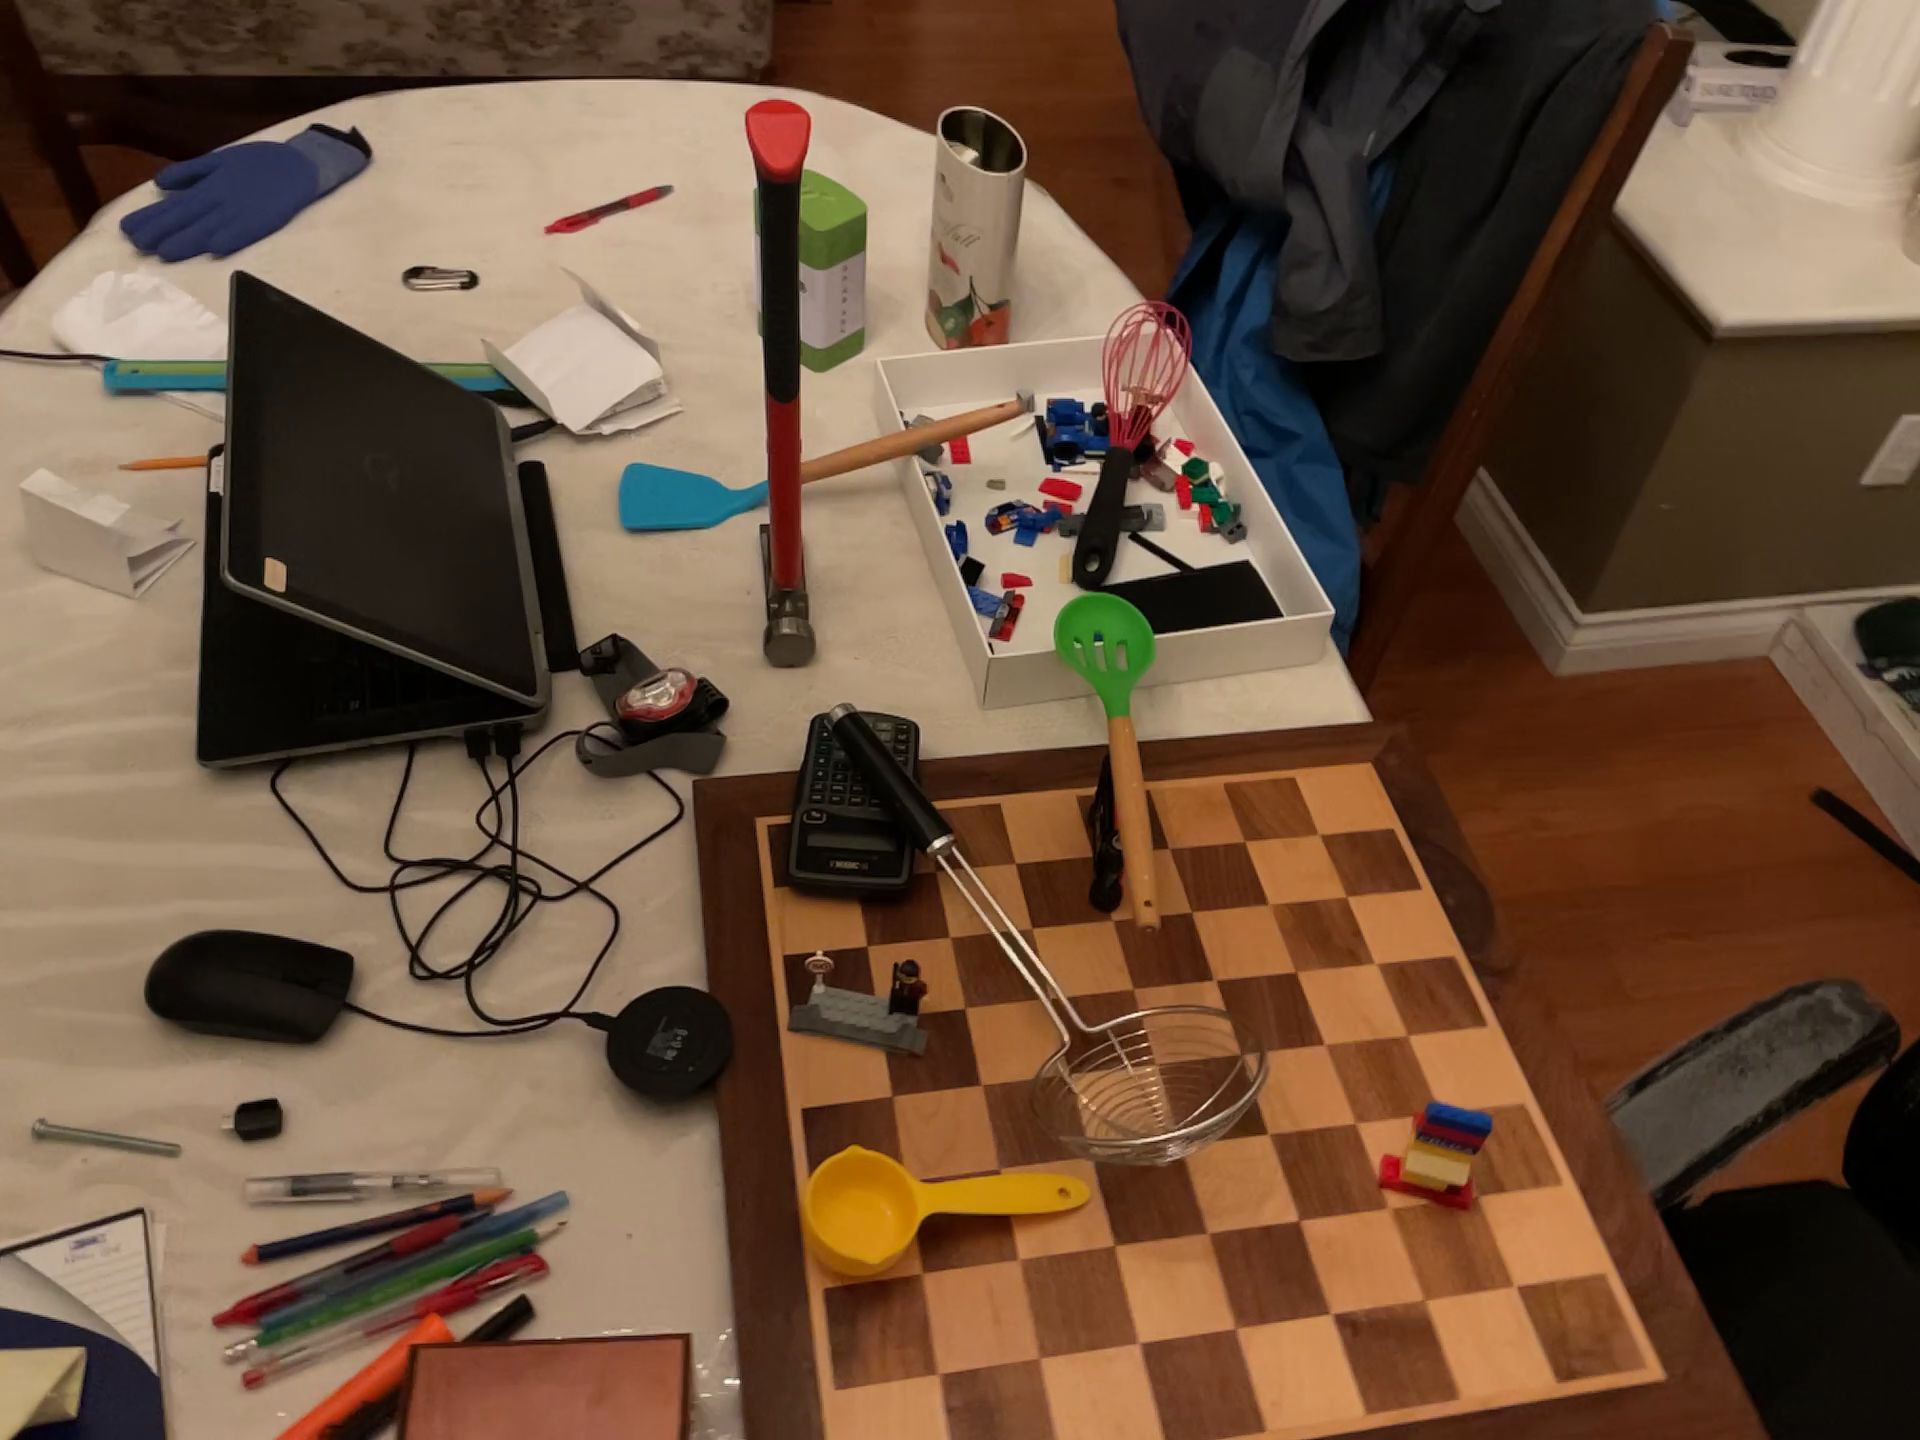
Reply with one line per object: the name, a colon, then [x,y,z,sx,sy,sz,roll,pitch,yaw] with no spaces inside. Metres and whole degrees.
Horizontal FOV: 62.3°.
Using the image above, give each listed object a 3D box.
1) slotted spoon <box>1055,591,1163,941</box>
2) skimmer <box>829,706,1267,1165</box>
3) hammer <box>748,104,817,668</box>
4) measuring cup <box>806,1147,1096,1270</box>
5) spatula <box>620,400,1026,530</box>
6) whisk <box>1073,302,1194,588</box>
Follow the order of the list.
slotted spoon: [0.100,0.020,0.981,0.070,0.031,0.314,4,38,-4]
skimmer: [0.027,0.102,0.914,0.127,0.090,0.364,-25,58,-24]
hammer: [-0.116,-0.218,1.039,0.038,0.386,0.143,-3,47,-8]
measuring cup: [-0.004,0.255,0.827,0.156,0.029,0.062,4,42,-19]
spatula: [-0.105,-0.202,1.222,0.317,0.044,0.082,-15,45,9]
whisk: [0.133,-0.226,1.274,0.073,0.073,0.296,4,58,23]
